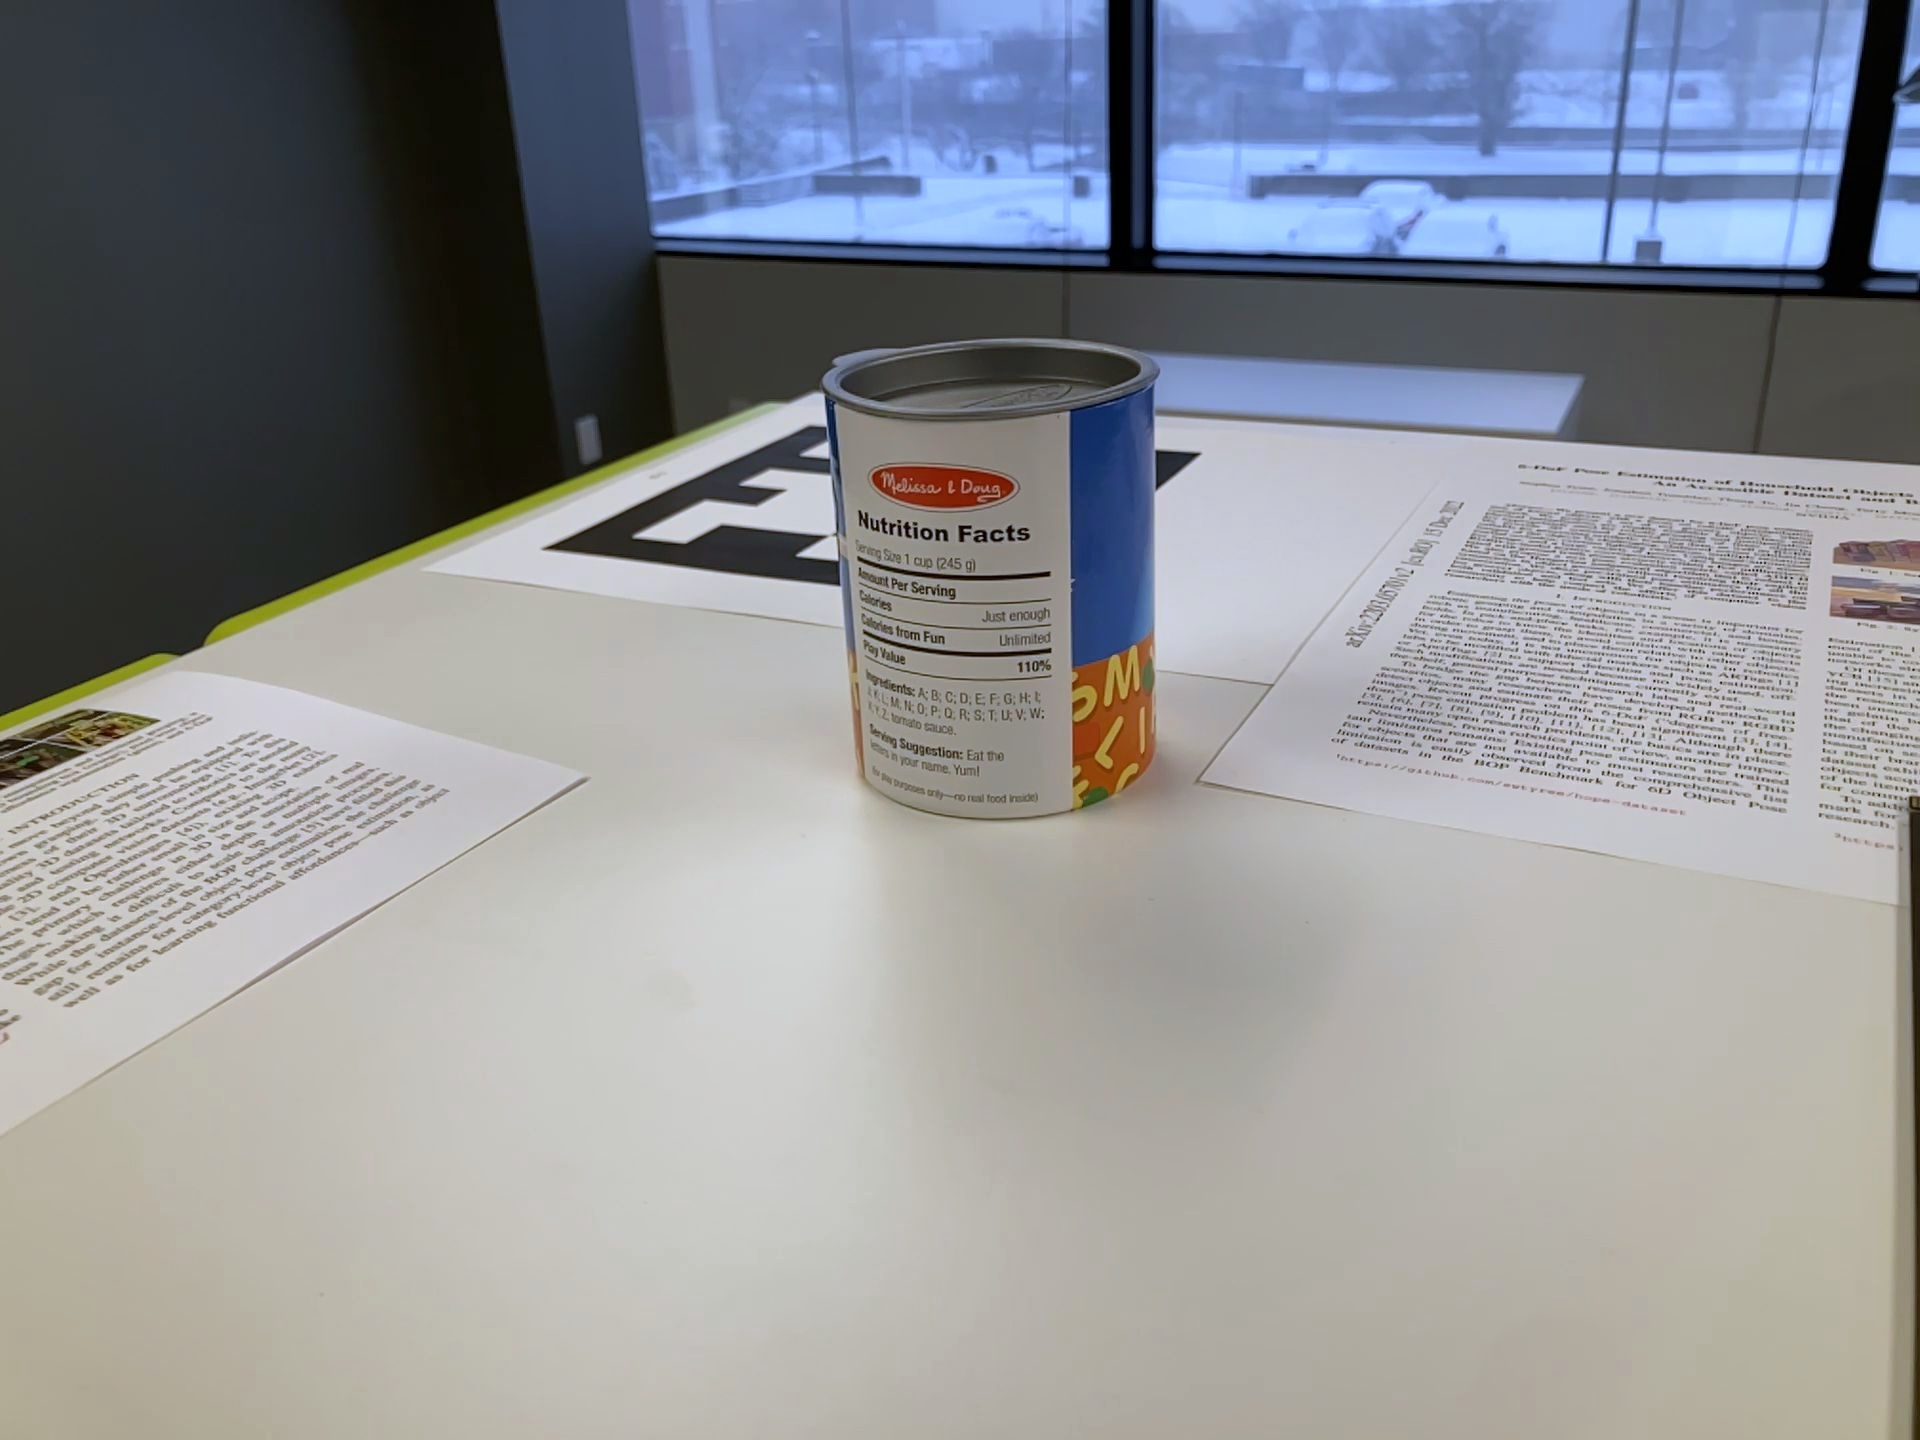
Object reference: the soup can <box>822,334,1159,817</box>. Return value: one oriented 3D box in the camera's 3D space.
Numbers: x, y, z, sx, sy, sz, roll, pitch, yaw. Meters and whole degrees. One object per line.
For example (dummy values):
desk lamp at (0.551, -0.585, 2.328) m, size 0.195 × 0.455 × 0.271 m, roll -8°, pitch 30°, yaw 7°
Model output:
soup can at (0.009, -0.032, 0.332) m, size 0.071 × 0.084 × 0.071 m, roll -2°, pitch 24°, yaw 1°
